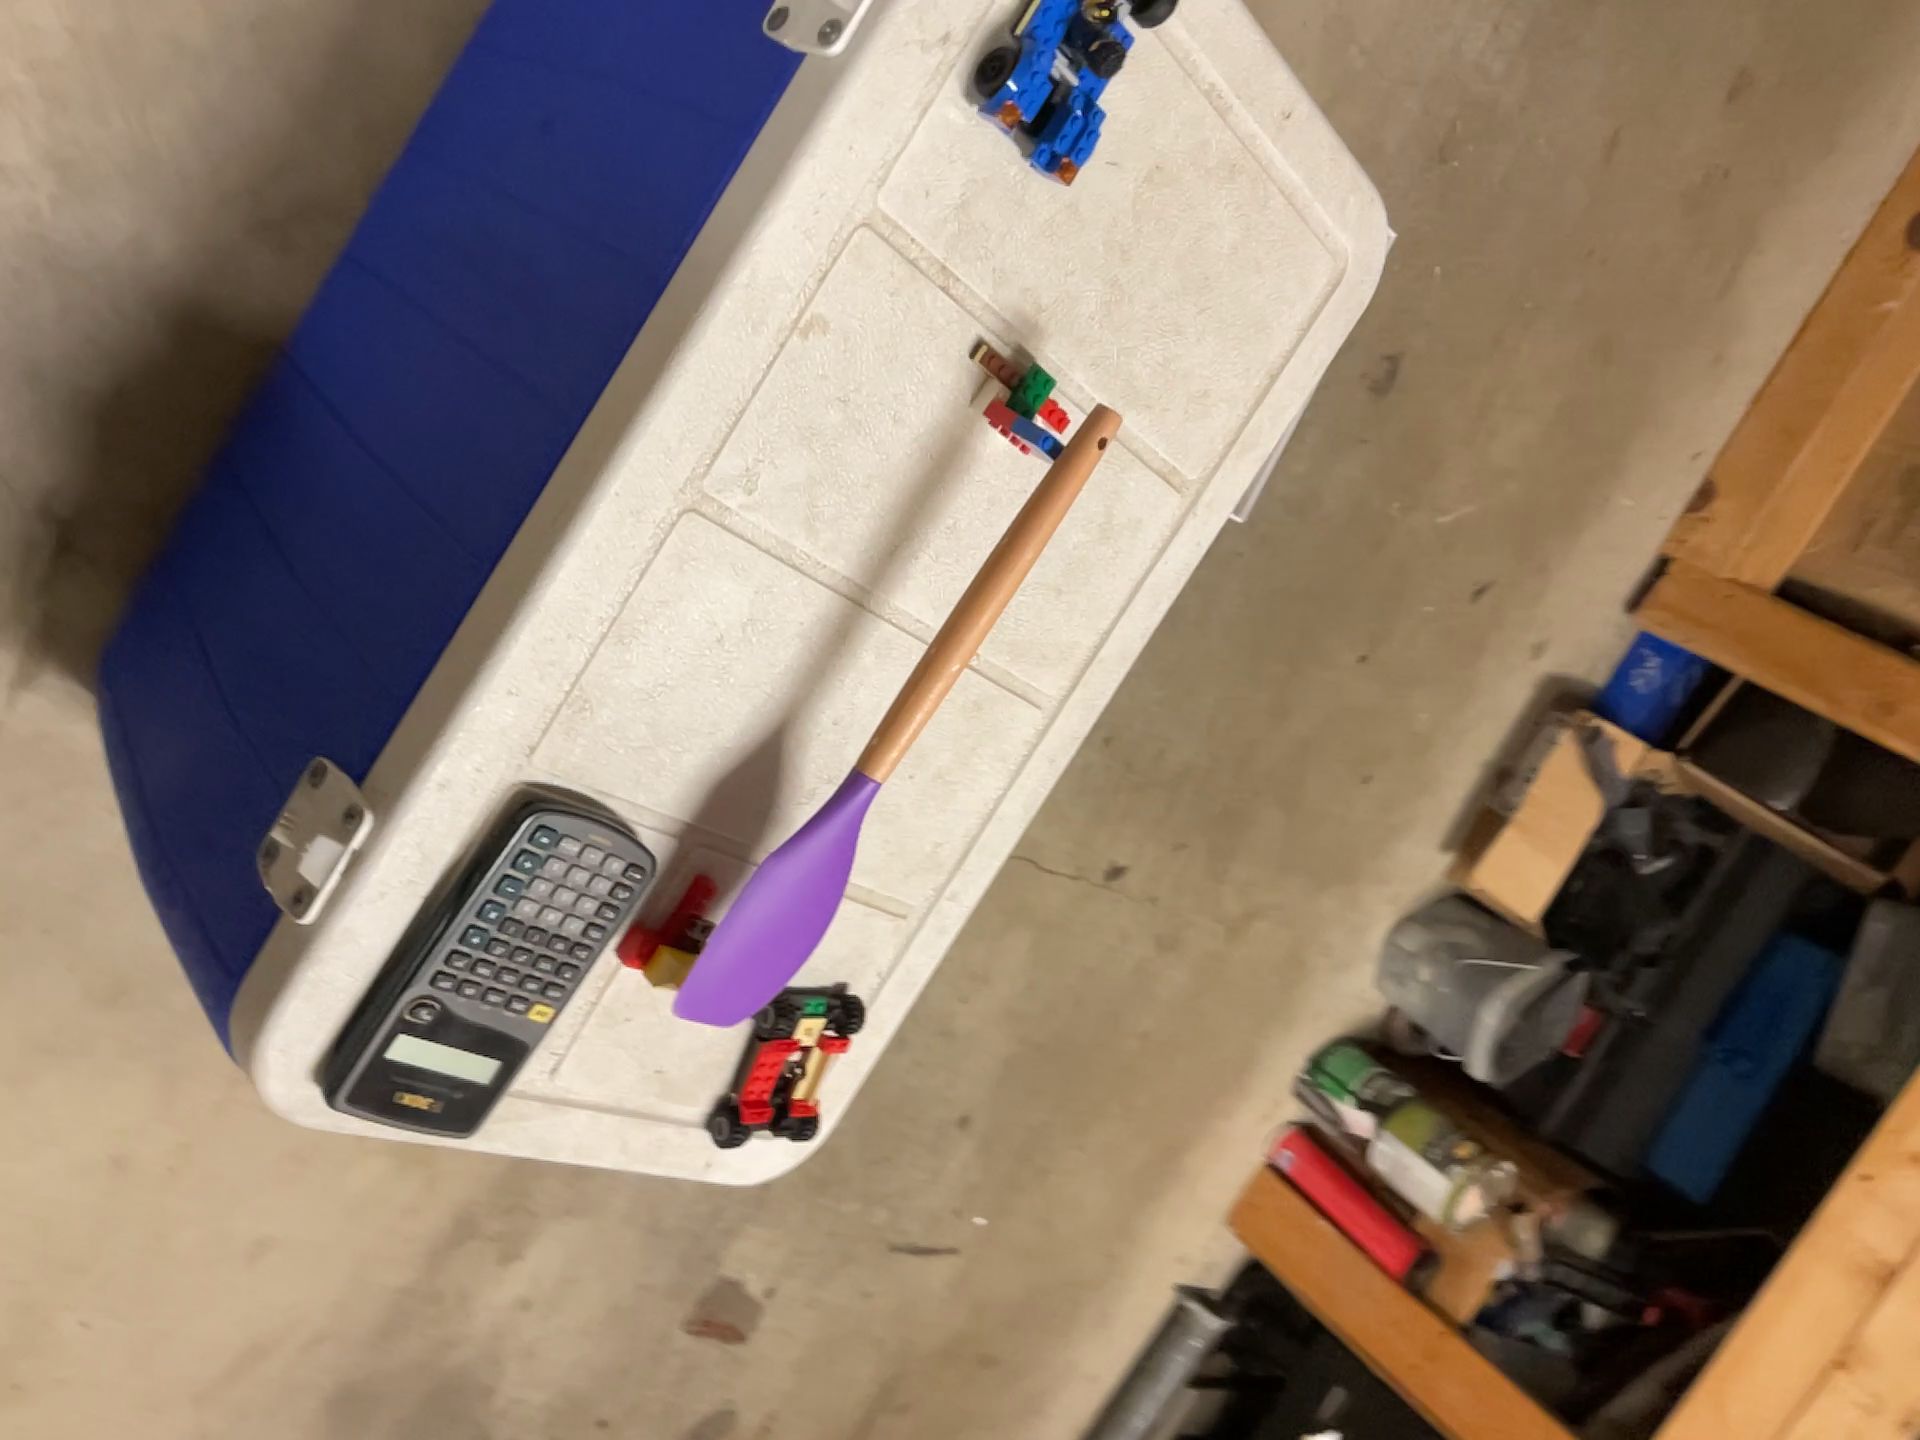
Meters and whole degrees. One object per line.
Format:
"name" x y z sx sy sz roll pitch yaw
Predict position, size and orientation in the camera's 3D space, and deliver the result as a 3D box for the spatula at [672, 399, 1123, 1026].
"spatula" -0.023 0.001 0.679 0.060 0.018 0.316 26 100 -47
